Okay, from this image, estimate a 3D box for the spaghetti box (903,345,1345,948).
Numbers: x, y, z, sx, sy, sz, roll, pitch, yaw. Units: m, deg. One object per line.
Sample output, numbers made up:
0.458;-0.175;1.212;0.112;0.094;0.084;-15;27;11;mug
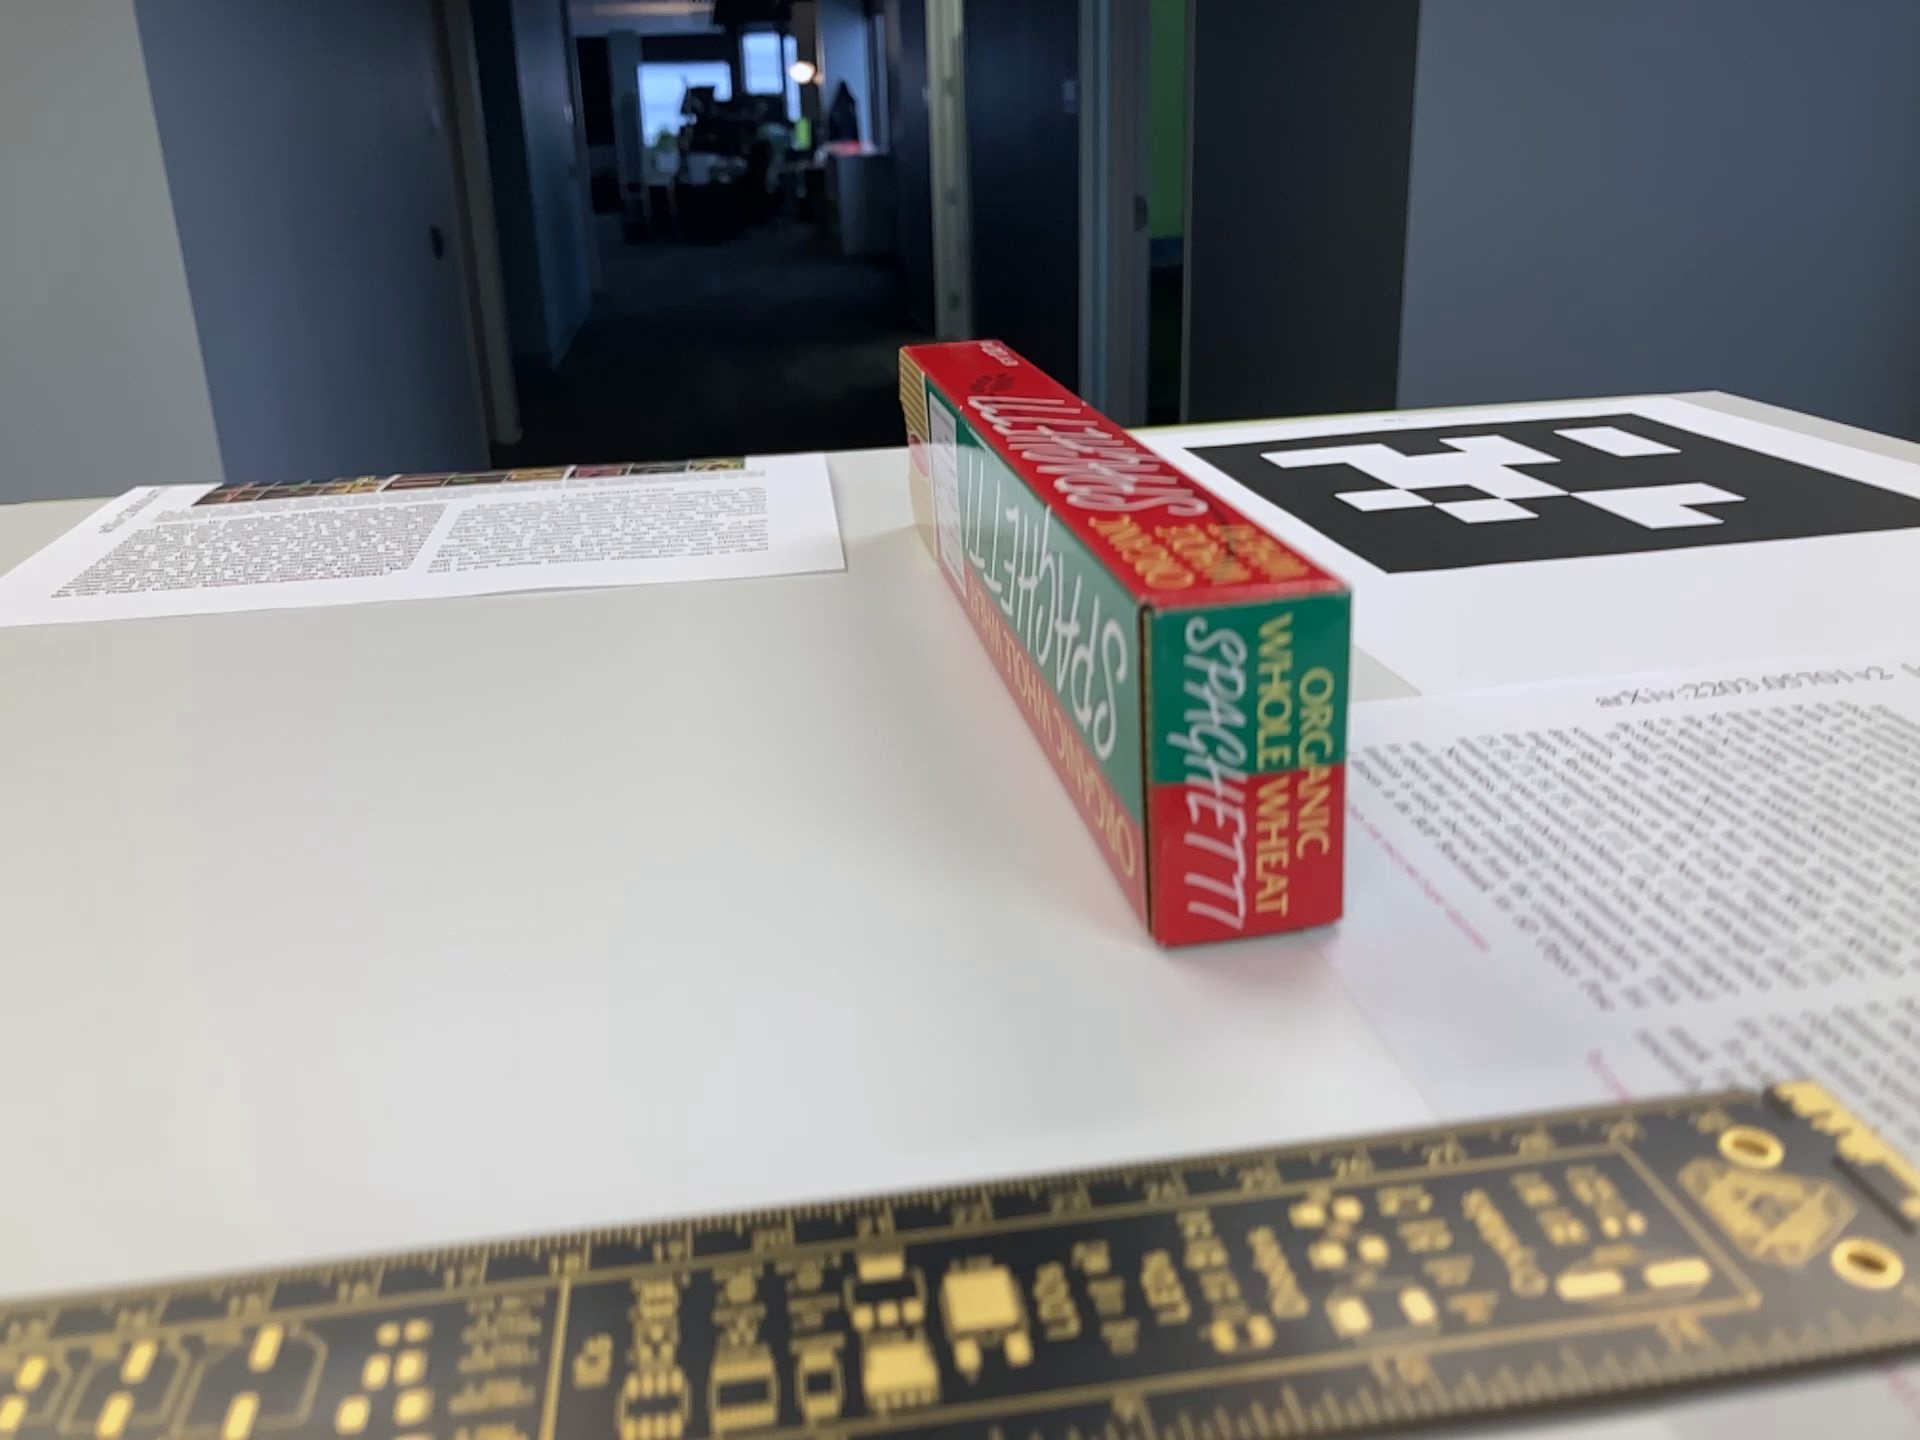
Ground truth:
0.018;-0.035;0.320;0.028;0.050;0.250;-7;21;-7;spaghetti box
